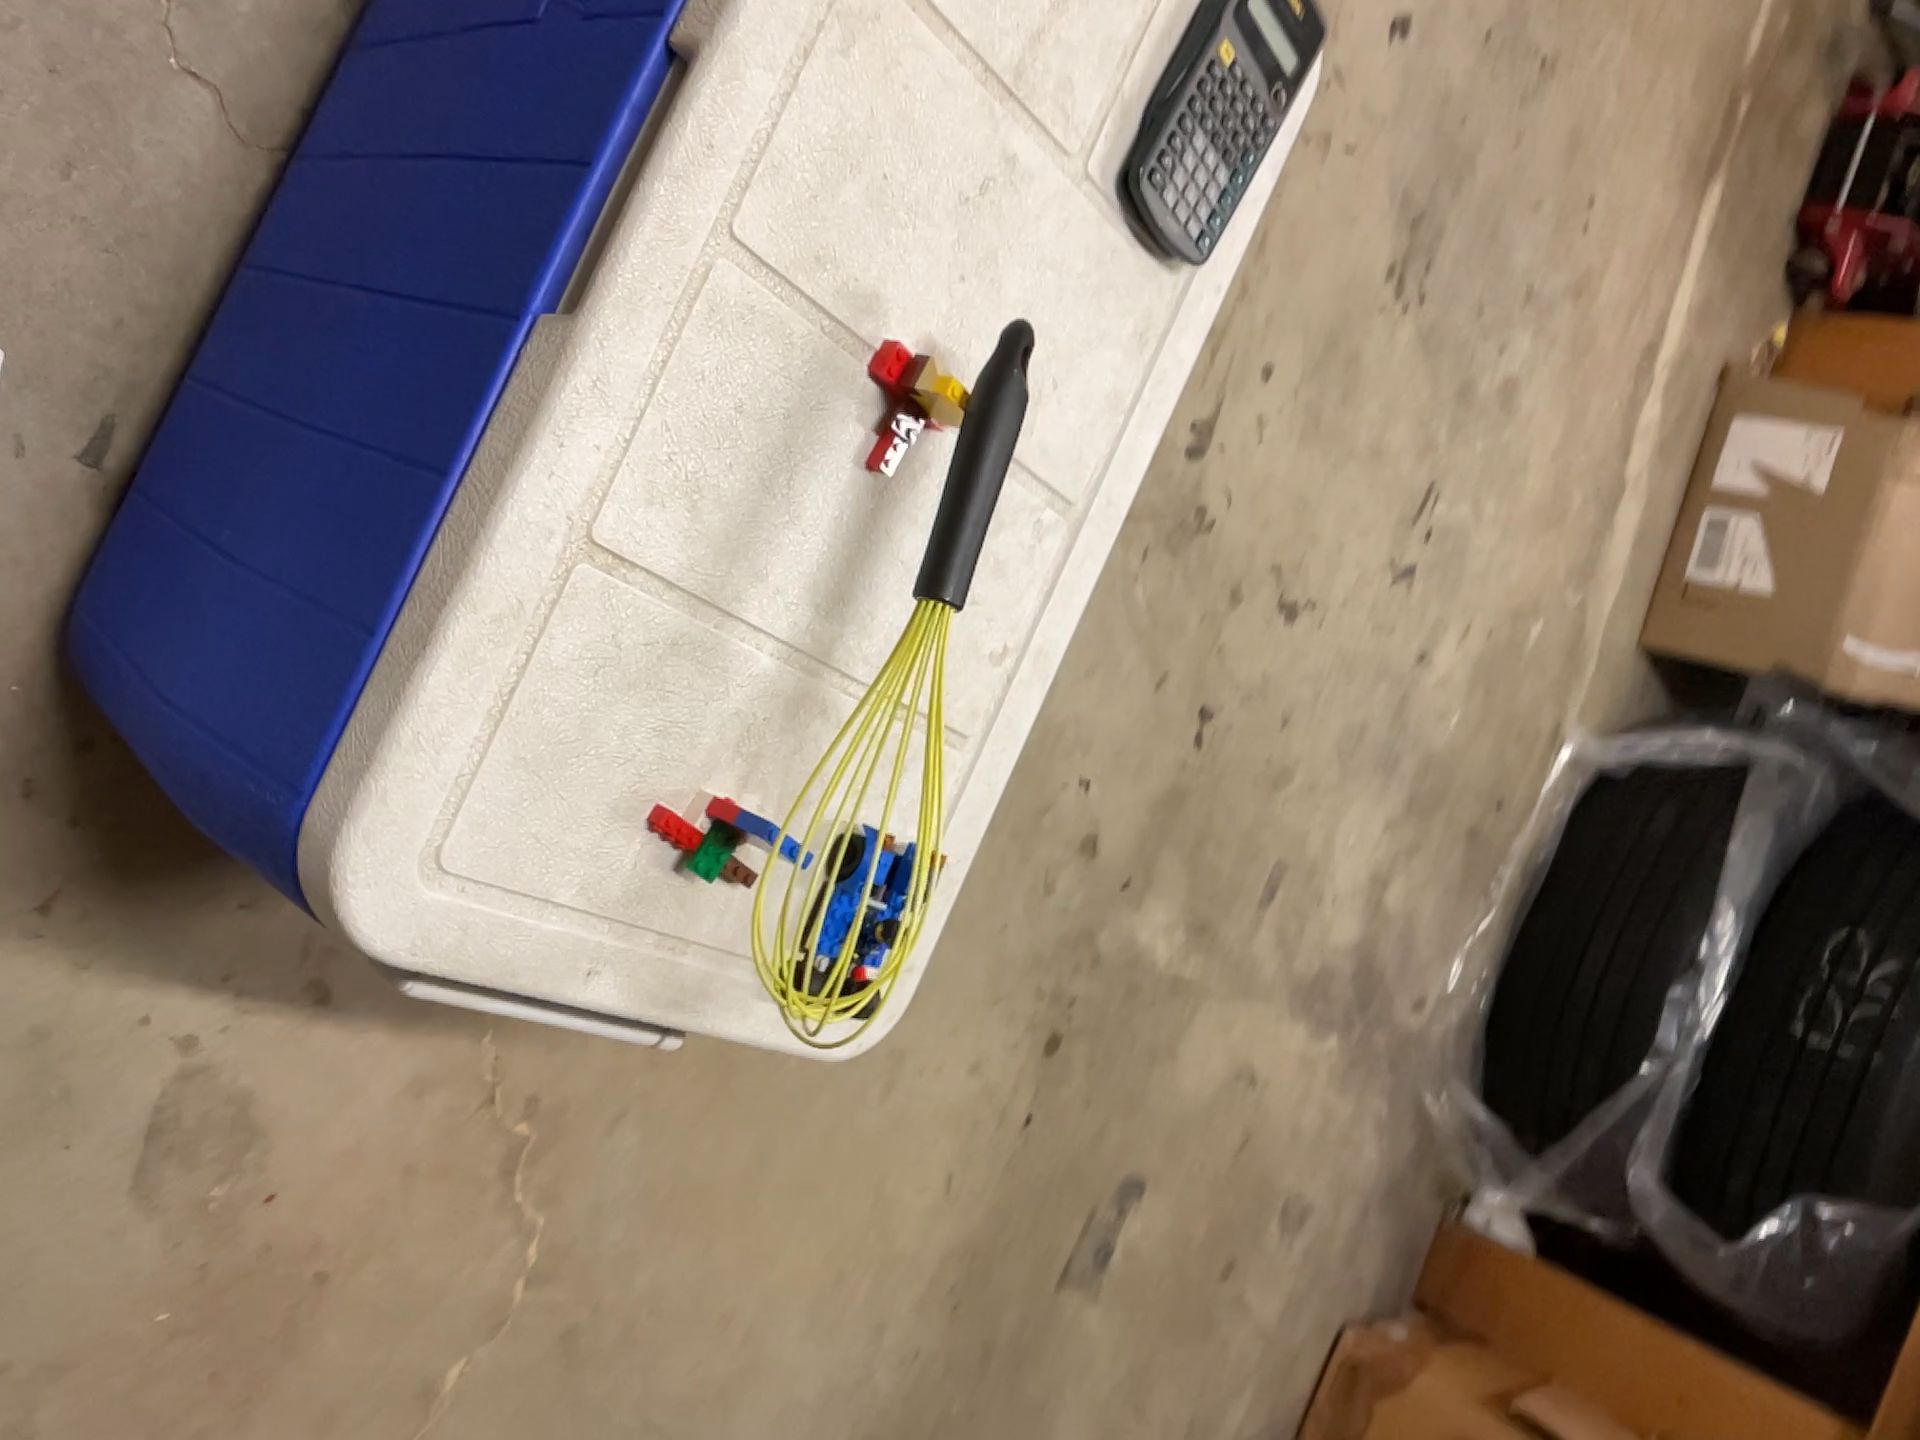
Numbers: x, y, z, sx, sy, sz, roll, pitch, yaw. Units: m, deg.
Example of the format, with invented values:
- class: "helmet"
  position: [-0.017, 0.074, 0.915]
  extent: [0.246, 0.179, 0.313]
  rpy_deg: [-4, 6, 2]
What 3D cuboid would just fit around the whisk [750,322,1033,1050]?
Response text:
- class: "whisk"
  position: [-0.020, -0.020, 0.653]
  extent: [0.080, 0.067, 0.311]
  rpy_deg: [144, -37, -81]
